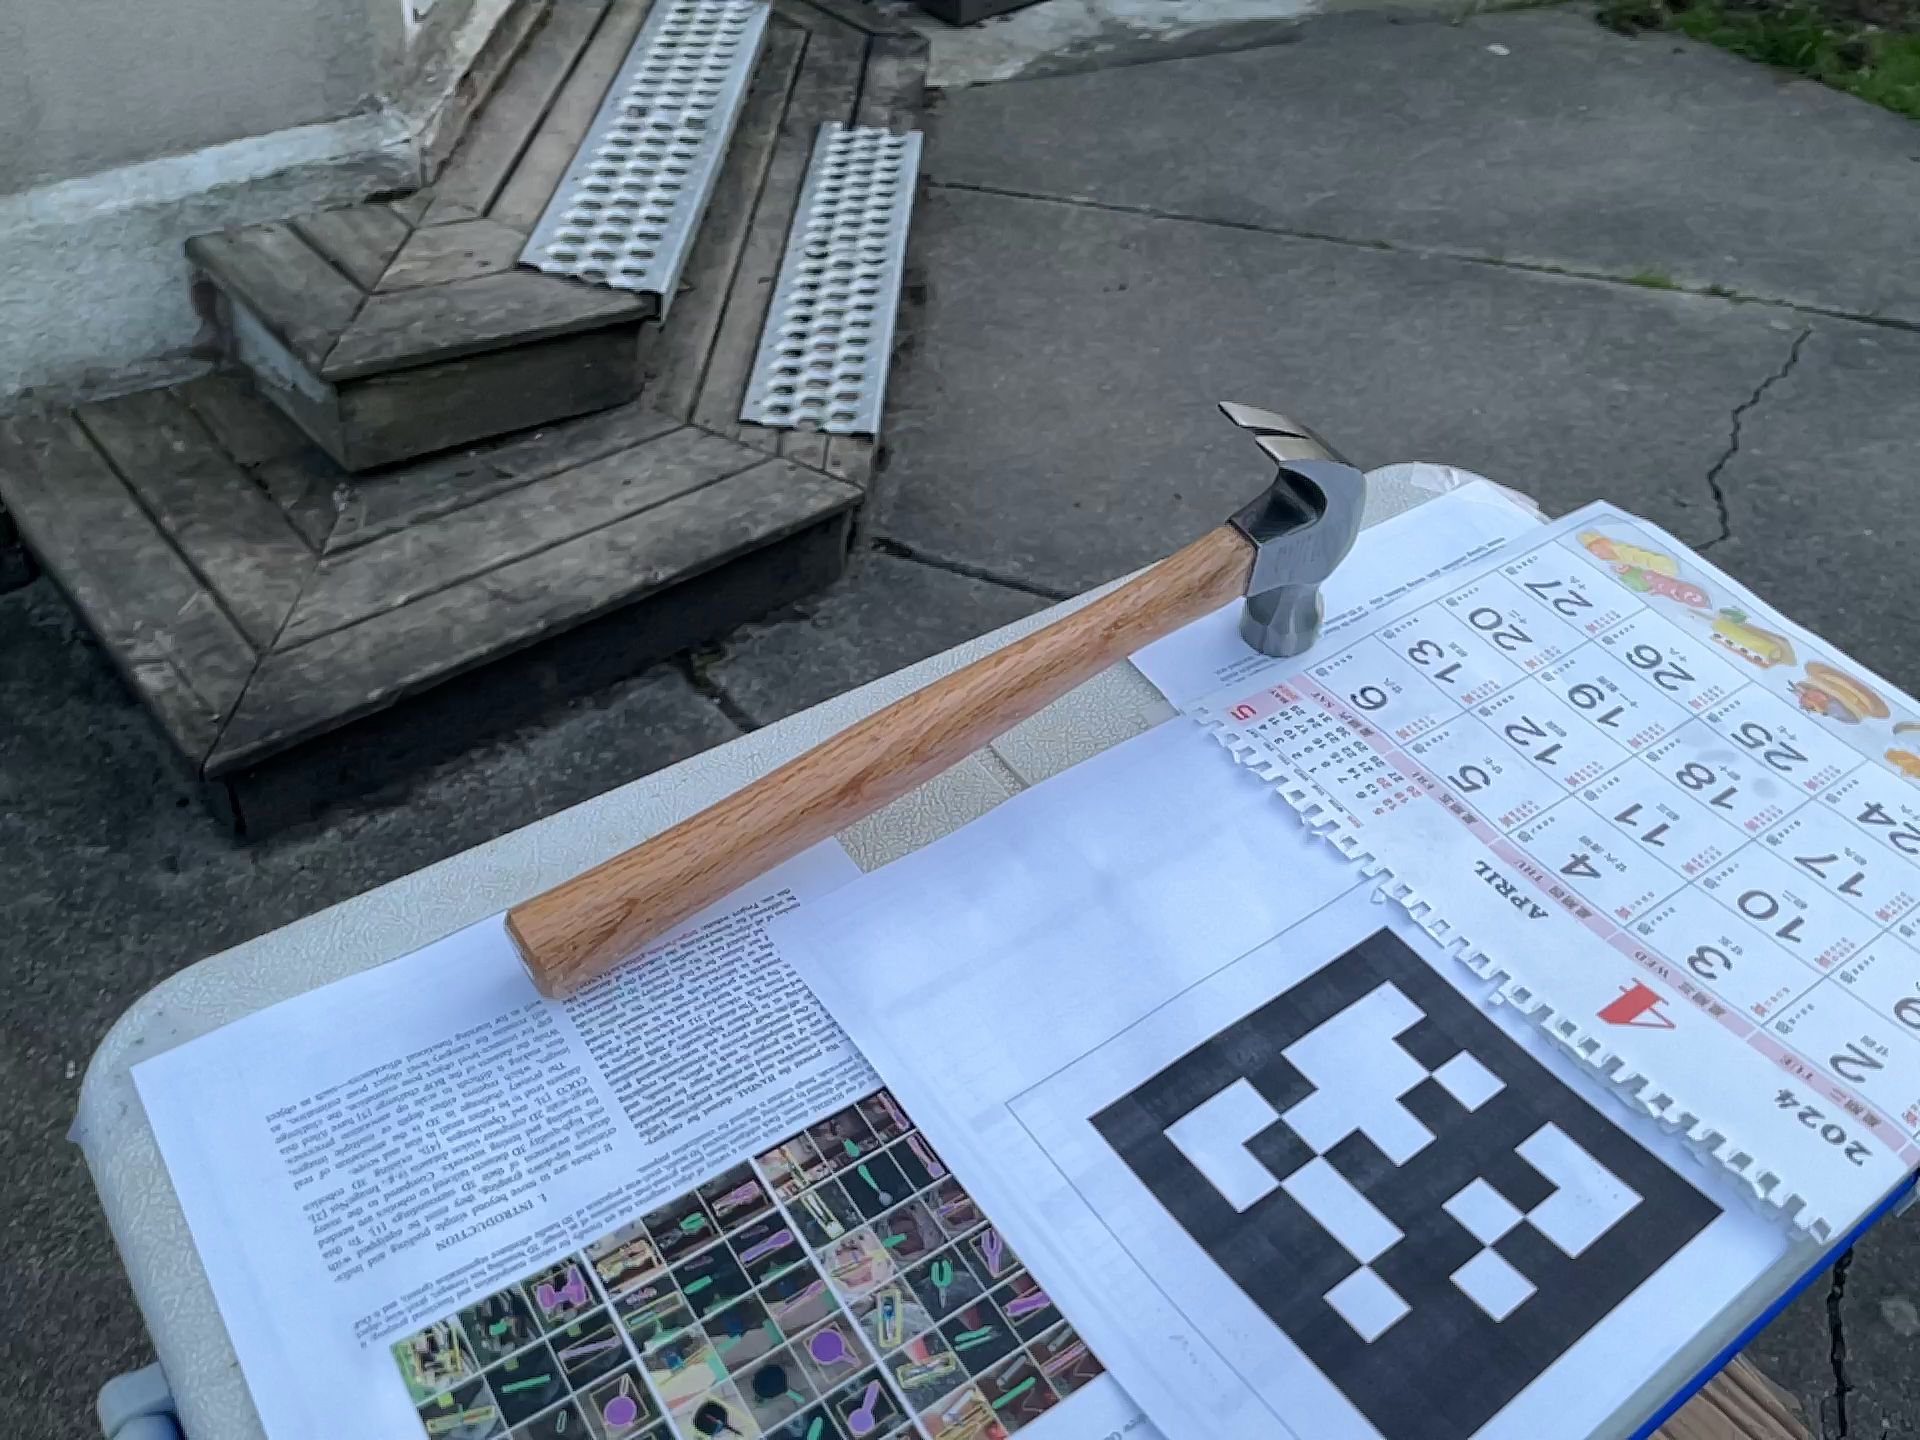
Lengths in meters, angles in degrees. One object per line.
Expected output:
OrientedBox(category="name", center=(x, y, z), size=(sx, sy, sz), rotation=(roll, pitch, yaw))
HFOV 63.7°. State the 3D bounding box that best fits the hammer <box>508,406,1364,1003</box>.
OrientedBox(category="hammer", center=(0.006, -0.006, 0.514), size=(0.331, 0.130, 0.031), rotation=(-29, 59, -21))
